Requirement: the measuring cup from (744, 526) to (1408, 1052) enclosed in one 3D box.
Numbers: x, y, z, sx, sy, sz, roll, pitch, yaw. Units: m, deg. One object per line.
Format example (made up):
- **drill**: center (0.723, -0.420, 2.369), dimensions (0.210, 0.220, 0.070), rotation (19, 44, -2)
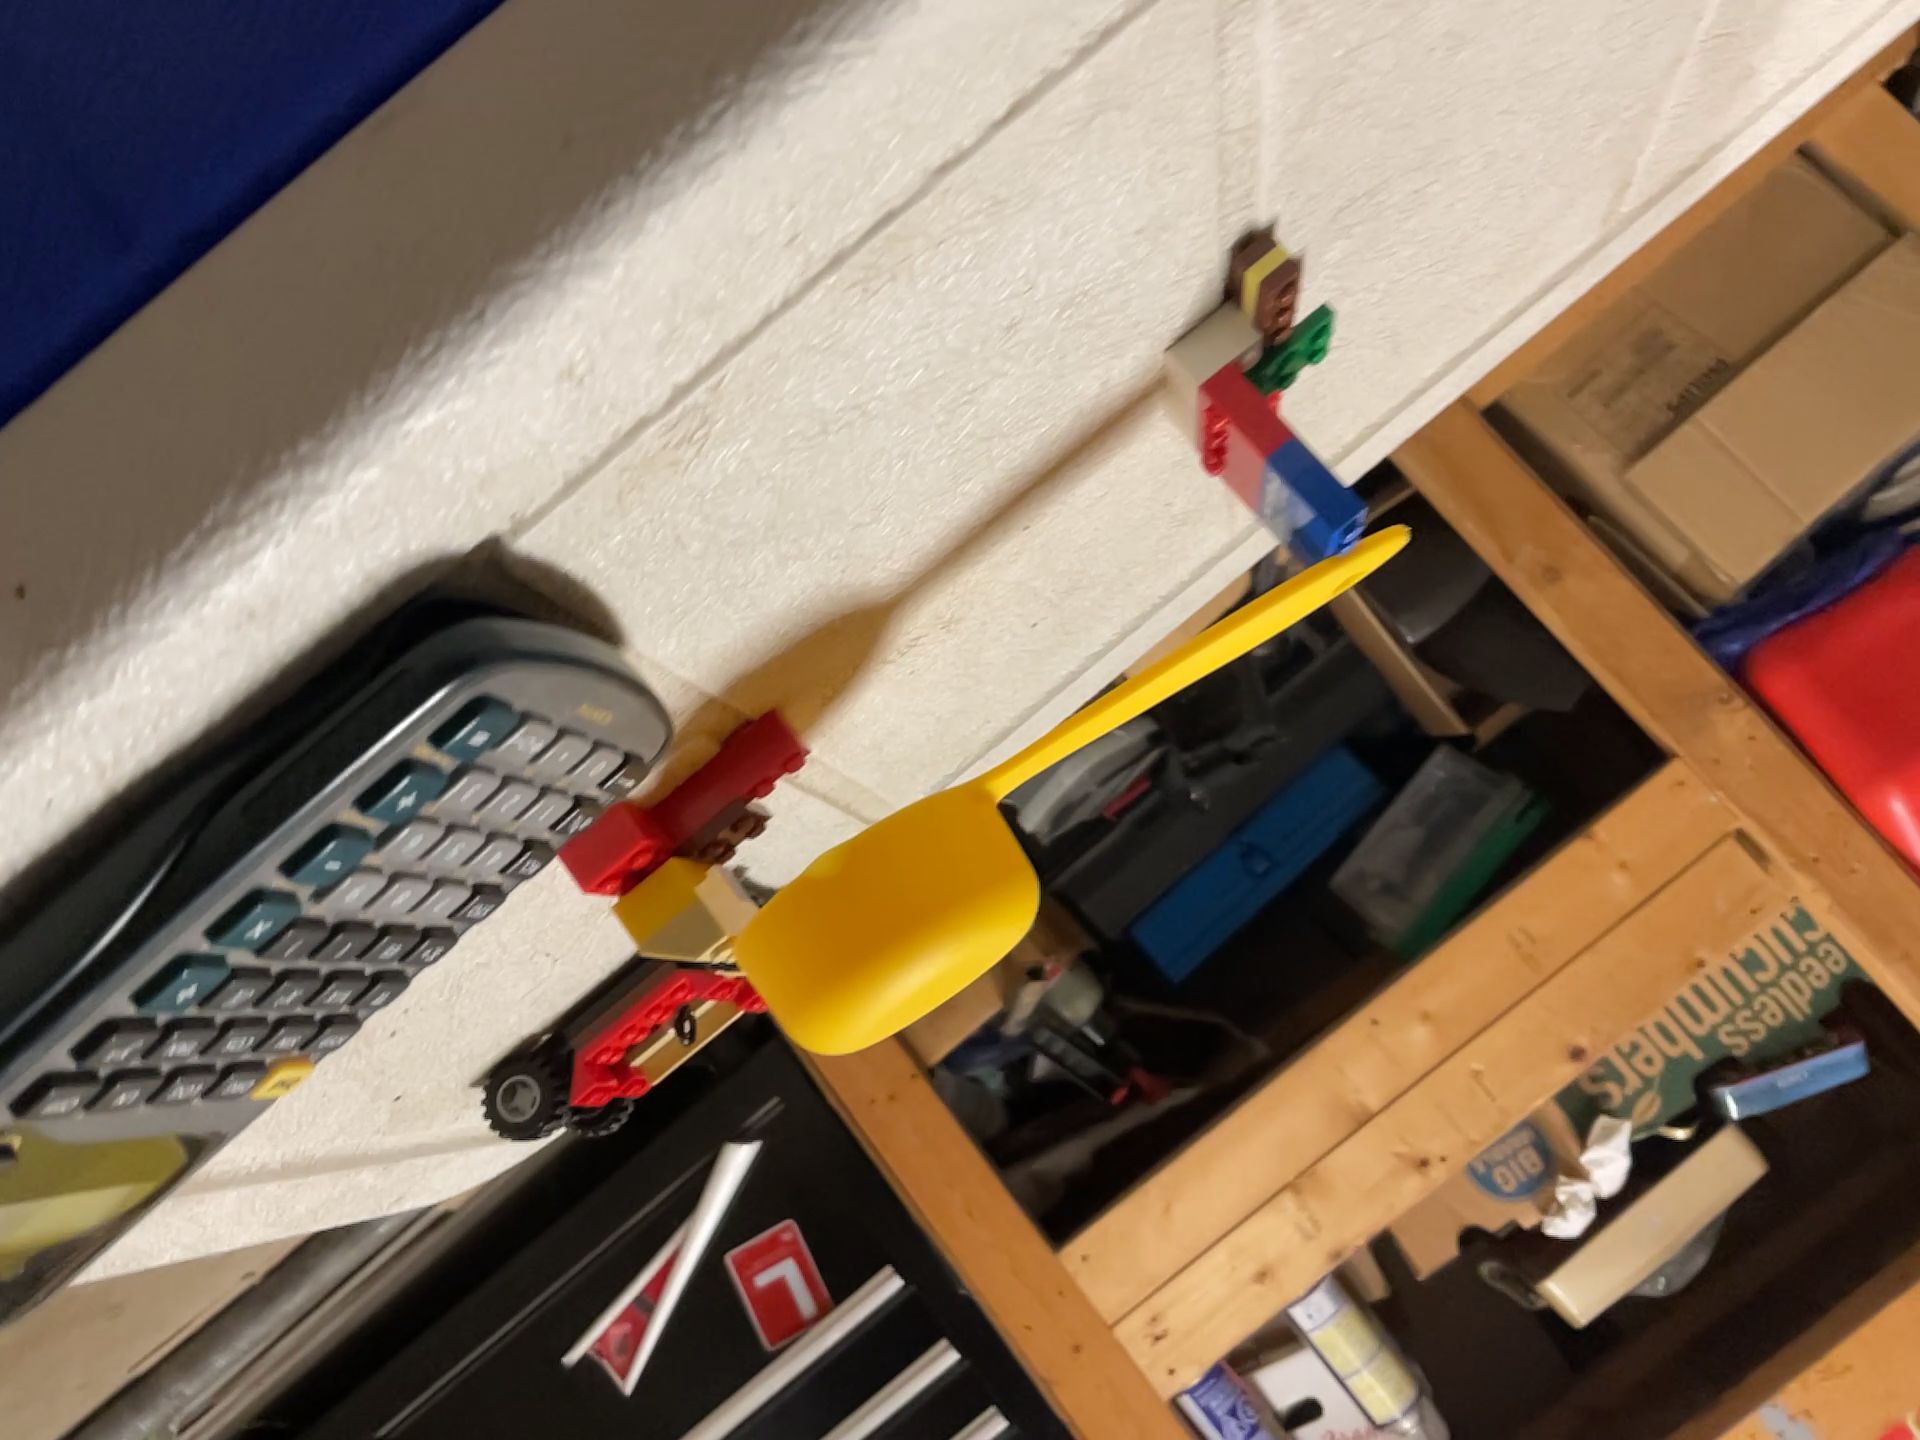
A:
- **measuring cup**: center (0.029, 0.015, 0.317), dimensions (0.156, 0.029, 0.062), rotation (-34, 166, 1)
